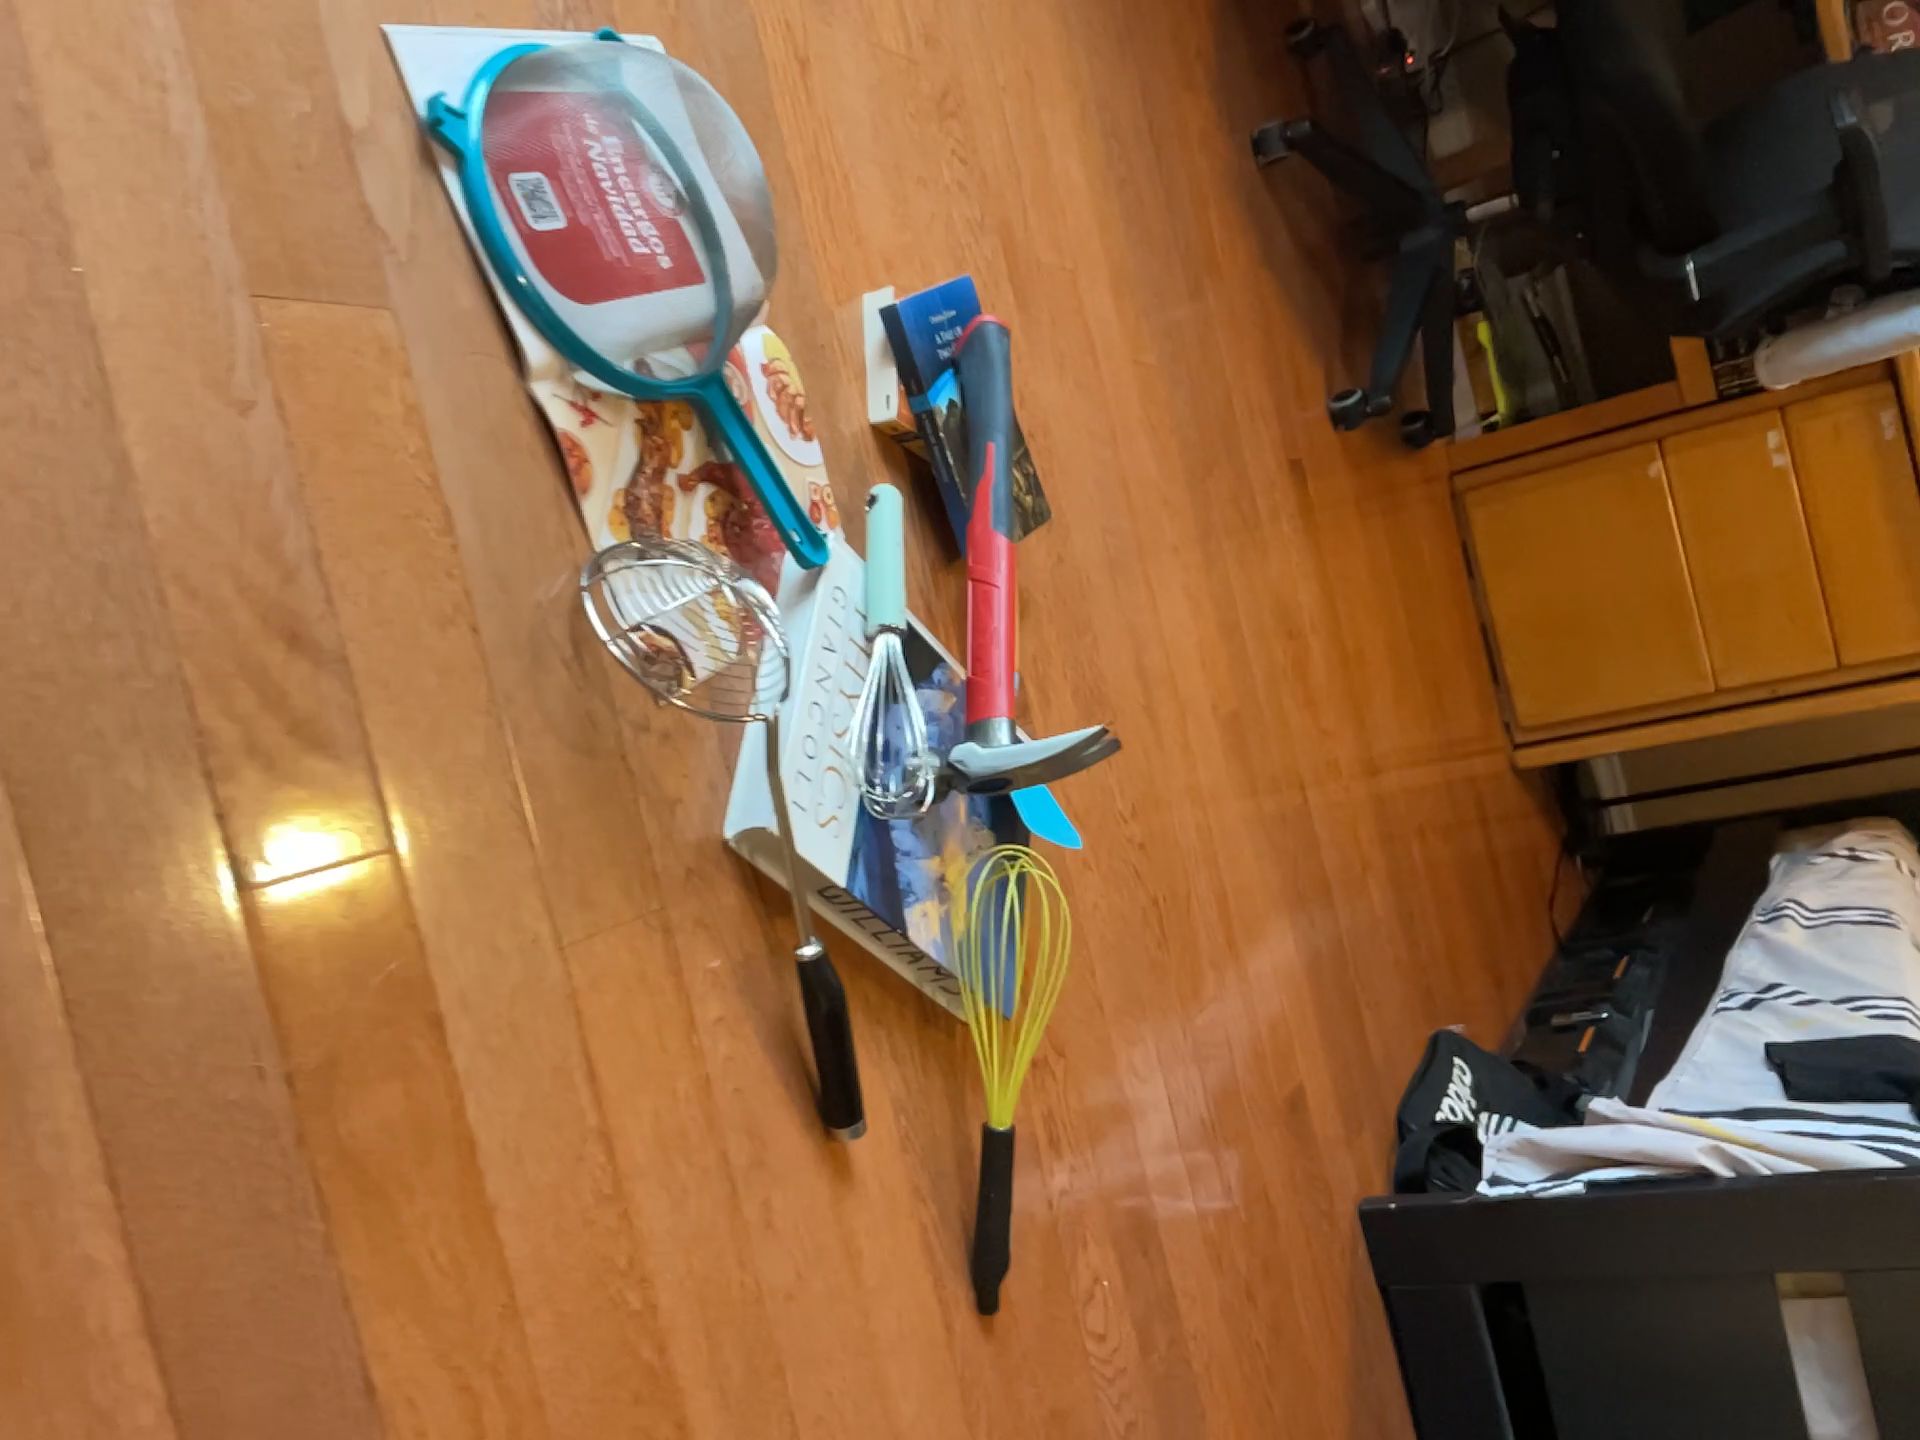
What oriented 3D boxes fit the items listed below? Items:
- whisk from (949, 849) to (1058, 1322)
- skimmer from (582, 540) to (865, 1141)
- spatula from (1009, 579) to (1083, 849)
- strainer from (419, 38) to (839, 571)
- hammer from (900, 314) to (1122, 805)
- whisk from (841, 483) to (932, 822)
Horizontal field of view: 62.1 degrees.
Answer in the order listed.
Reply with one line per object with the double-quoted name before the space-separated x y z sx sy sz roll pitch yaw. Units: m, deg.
"whisk" 0.027 0.239 1.038 0.080 0.067 0.311 -11 102 -76
"skimmer" -0.123 0.074 0.906 0.127 0.090 0.363 -42 125 -60
"spatula" 0.044 -0.061 1.163 0.082 0.044 0.318 25 57 -53
"strainer" -0.140 -0.243 0.920 0.340 0.095 0.211 58 33 -19
"hammer" 0.034 -0.129 1.094 0.038 0.143 0.387 43 40 -50
"whisk" -0.047 -0.048 1.006 0.059 0.057 0.247 12 58 -25
